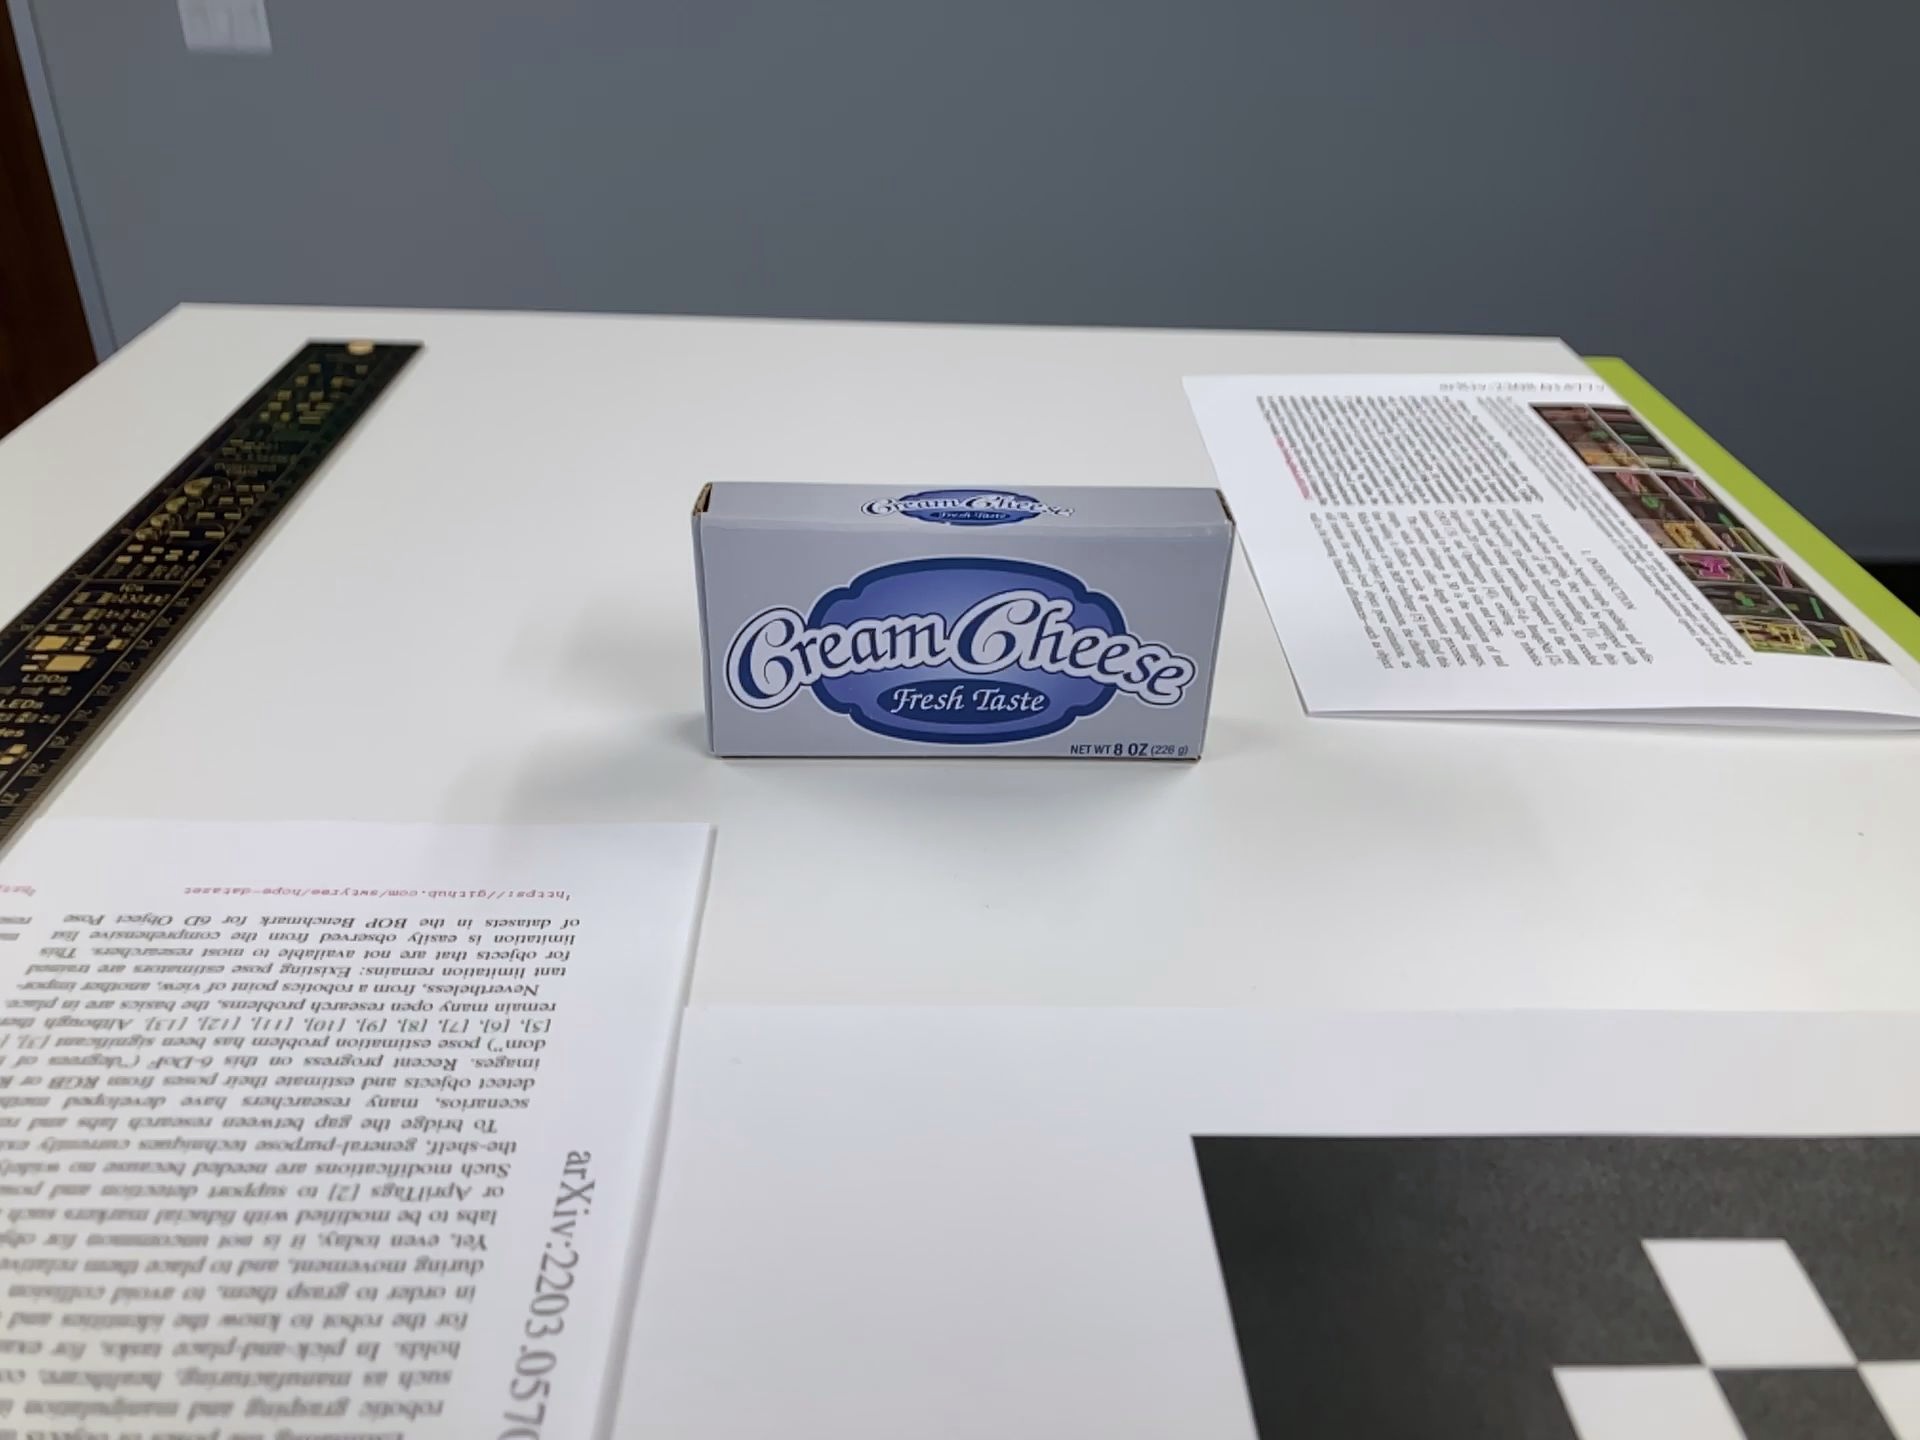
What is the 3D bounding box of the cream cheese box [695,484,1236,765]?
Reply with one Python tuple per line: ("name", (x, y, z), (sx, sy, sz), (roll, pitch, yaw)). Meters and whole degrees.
("cream cheese box", (0.000, -0.019, 0.322), (0.104, 0.053, 0.024), (1, 29, -2))
